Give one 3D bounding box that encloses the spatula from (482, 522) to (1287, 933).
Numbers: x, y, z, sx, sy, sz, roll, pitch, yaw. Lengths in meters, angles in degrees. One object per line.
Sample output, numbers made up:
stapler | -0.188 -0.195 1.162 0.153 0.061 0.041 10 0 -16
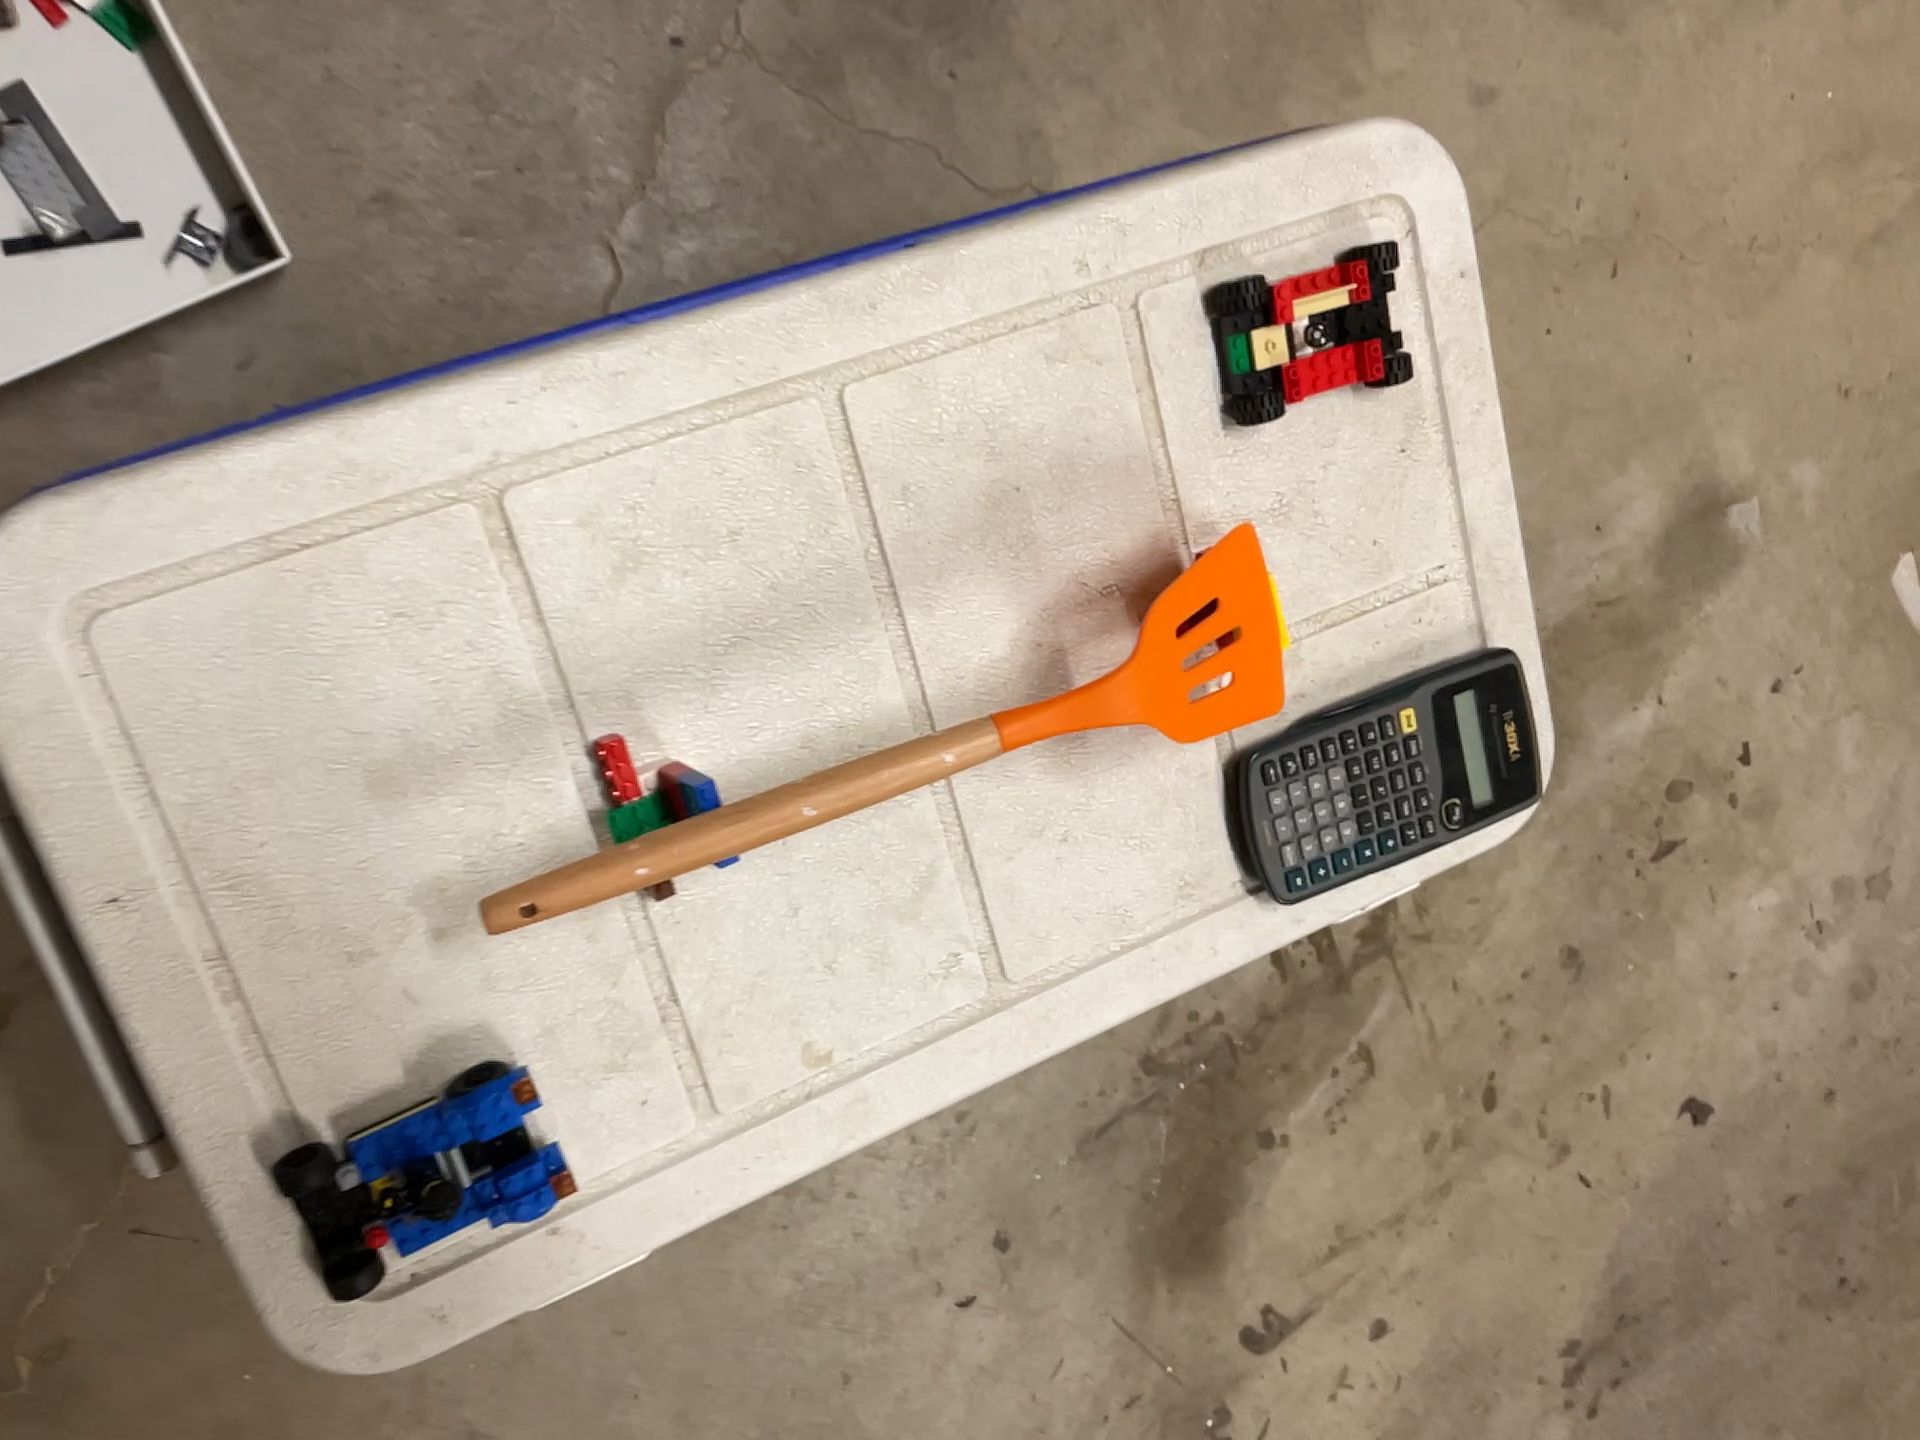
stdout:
spatula | -0.013 0.012 0.579 0.322 0.041 0.081 -19 108 -16
